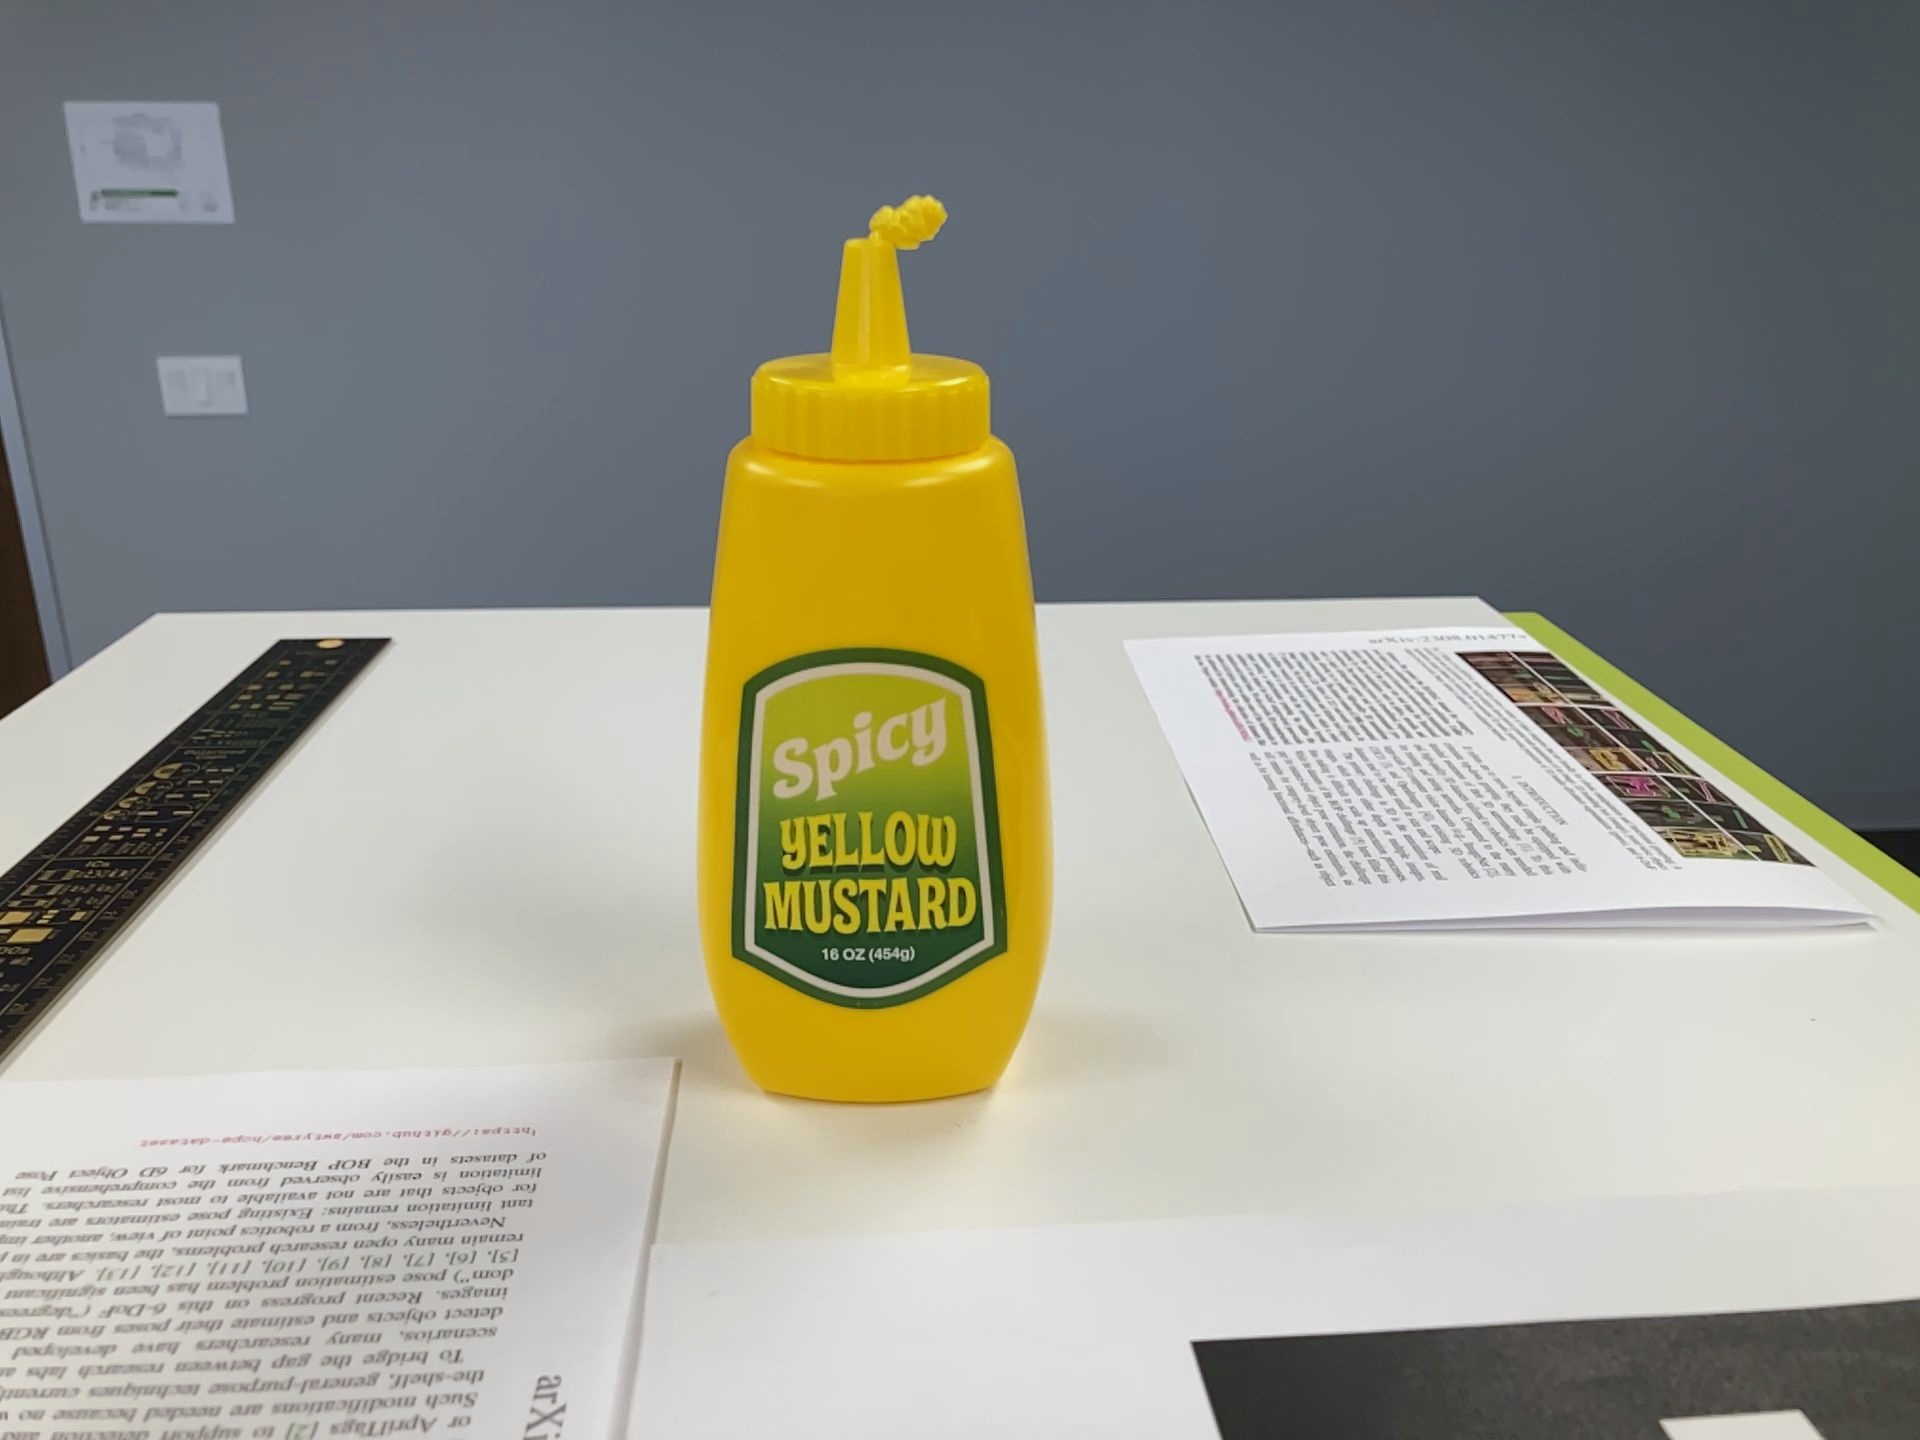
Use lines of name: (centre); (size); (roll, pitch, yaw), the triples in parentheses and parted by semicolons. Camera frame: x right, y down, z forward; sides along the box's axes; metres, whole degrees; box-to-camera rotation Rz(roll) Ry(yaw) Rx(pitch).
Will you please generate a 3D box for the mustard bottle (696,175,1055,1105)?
mustard bottle: (-0.016, -0.011, 0.278); (0.065, 0.160, 0.049); (-1, 21, 0)
